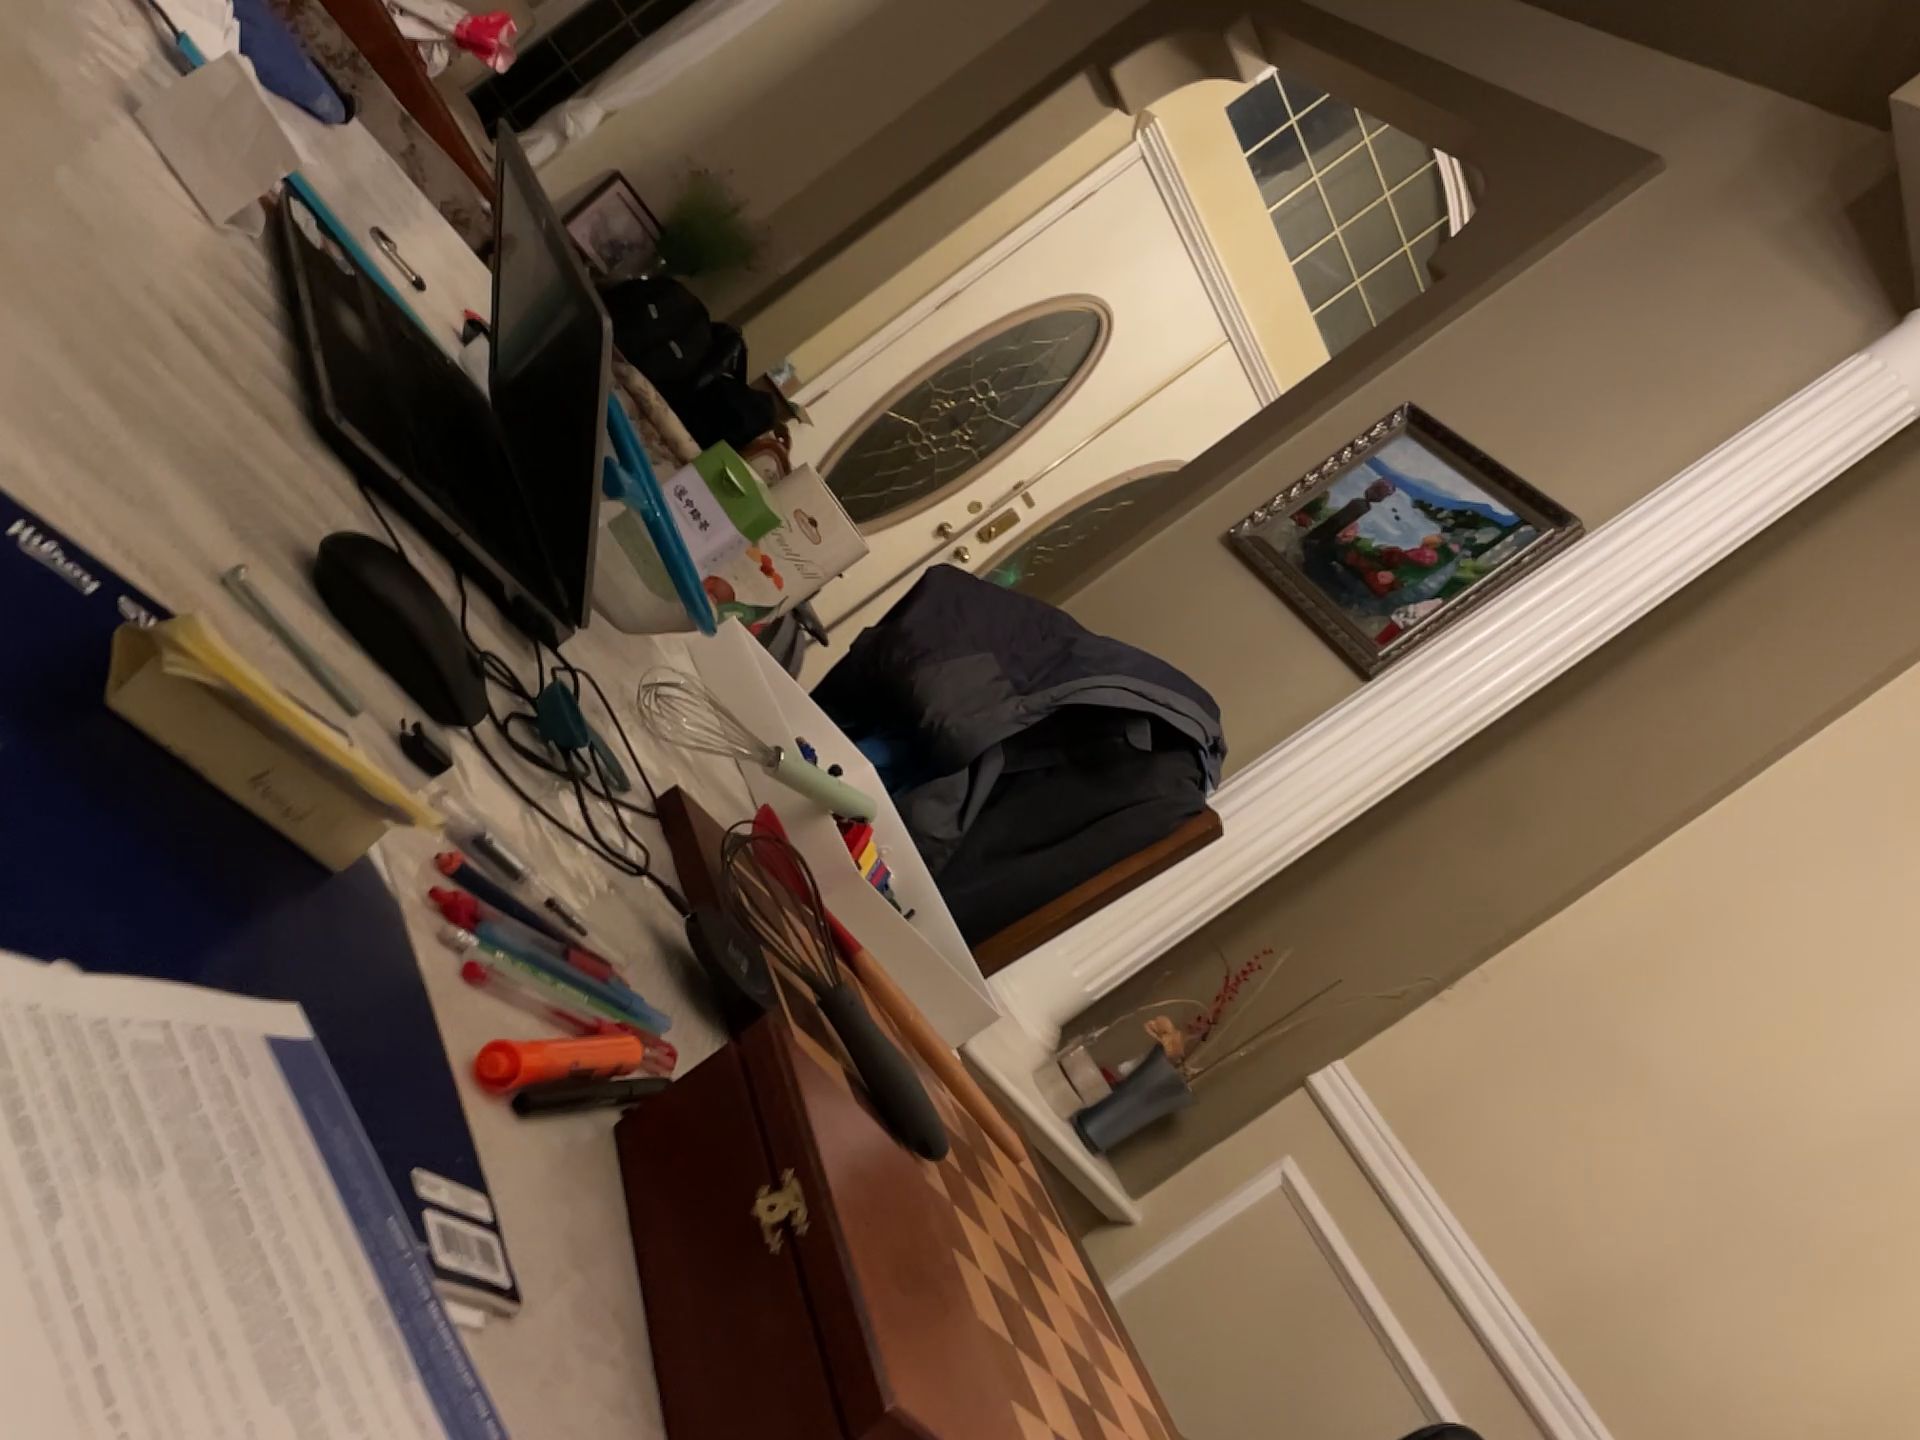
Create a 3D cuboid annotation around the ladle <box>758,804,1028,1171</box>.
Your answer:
[{"bbox_3d":[-0.054,0.190,1.134,0.315,0.031,0.069,51,-20,14],"label":"ladle"}]

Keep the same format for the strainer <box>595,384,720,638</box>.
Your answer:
[{"bbox_3d":[-0.262,-0.143,1.152,0.340,0.095,0.211,-152,-141,-86],"label":"strainer"}]

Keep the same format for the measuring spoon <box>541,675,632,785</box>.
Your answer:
[{"bbox_3d":[-0.220,0.015,0.937,0.128,0.021,0.042,77,-11,-65],"label":"measuring spoon"}]

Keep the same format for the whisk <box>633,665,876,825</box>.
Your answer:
[{"bbox_3d":[-0.149,0.026,1.203,0.246,0.058,0.059,33,47,-41],"label":"whisk"}]

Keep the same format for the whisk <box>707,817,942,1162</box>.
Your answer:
[{"bbox_3d":[-0.079,0.164,0.955,0.239,0.055,0.055,59,17,-1],"label":"whisk"}]
